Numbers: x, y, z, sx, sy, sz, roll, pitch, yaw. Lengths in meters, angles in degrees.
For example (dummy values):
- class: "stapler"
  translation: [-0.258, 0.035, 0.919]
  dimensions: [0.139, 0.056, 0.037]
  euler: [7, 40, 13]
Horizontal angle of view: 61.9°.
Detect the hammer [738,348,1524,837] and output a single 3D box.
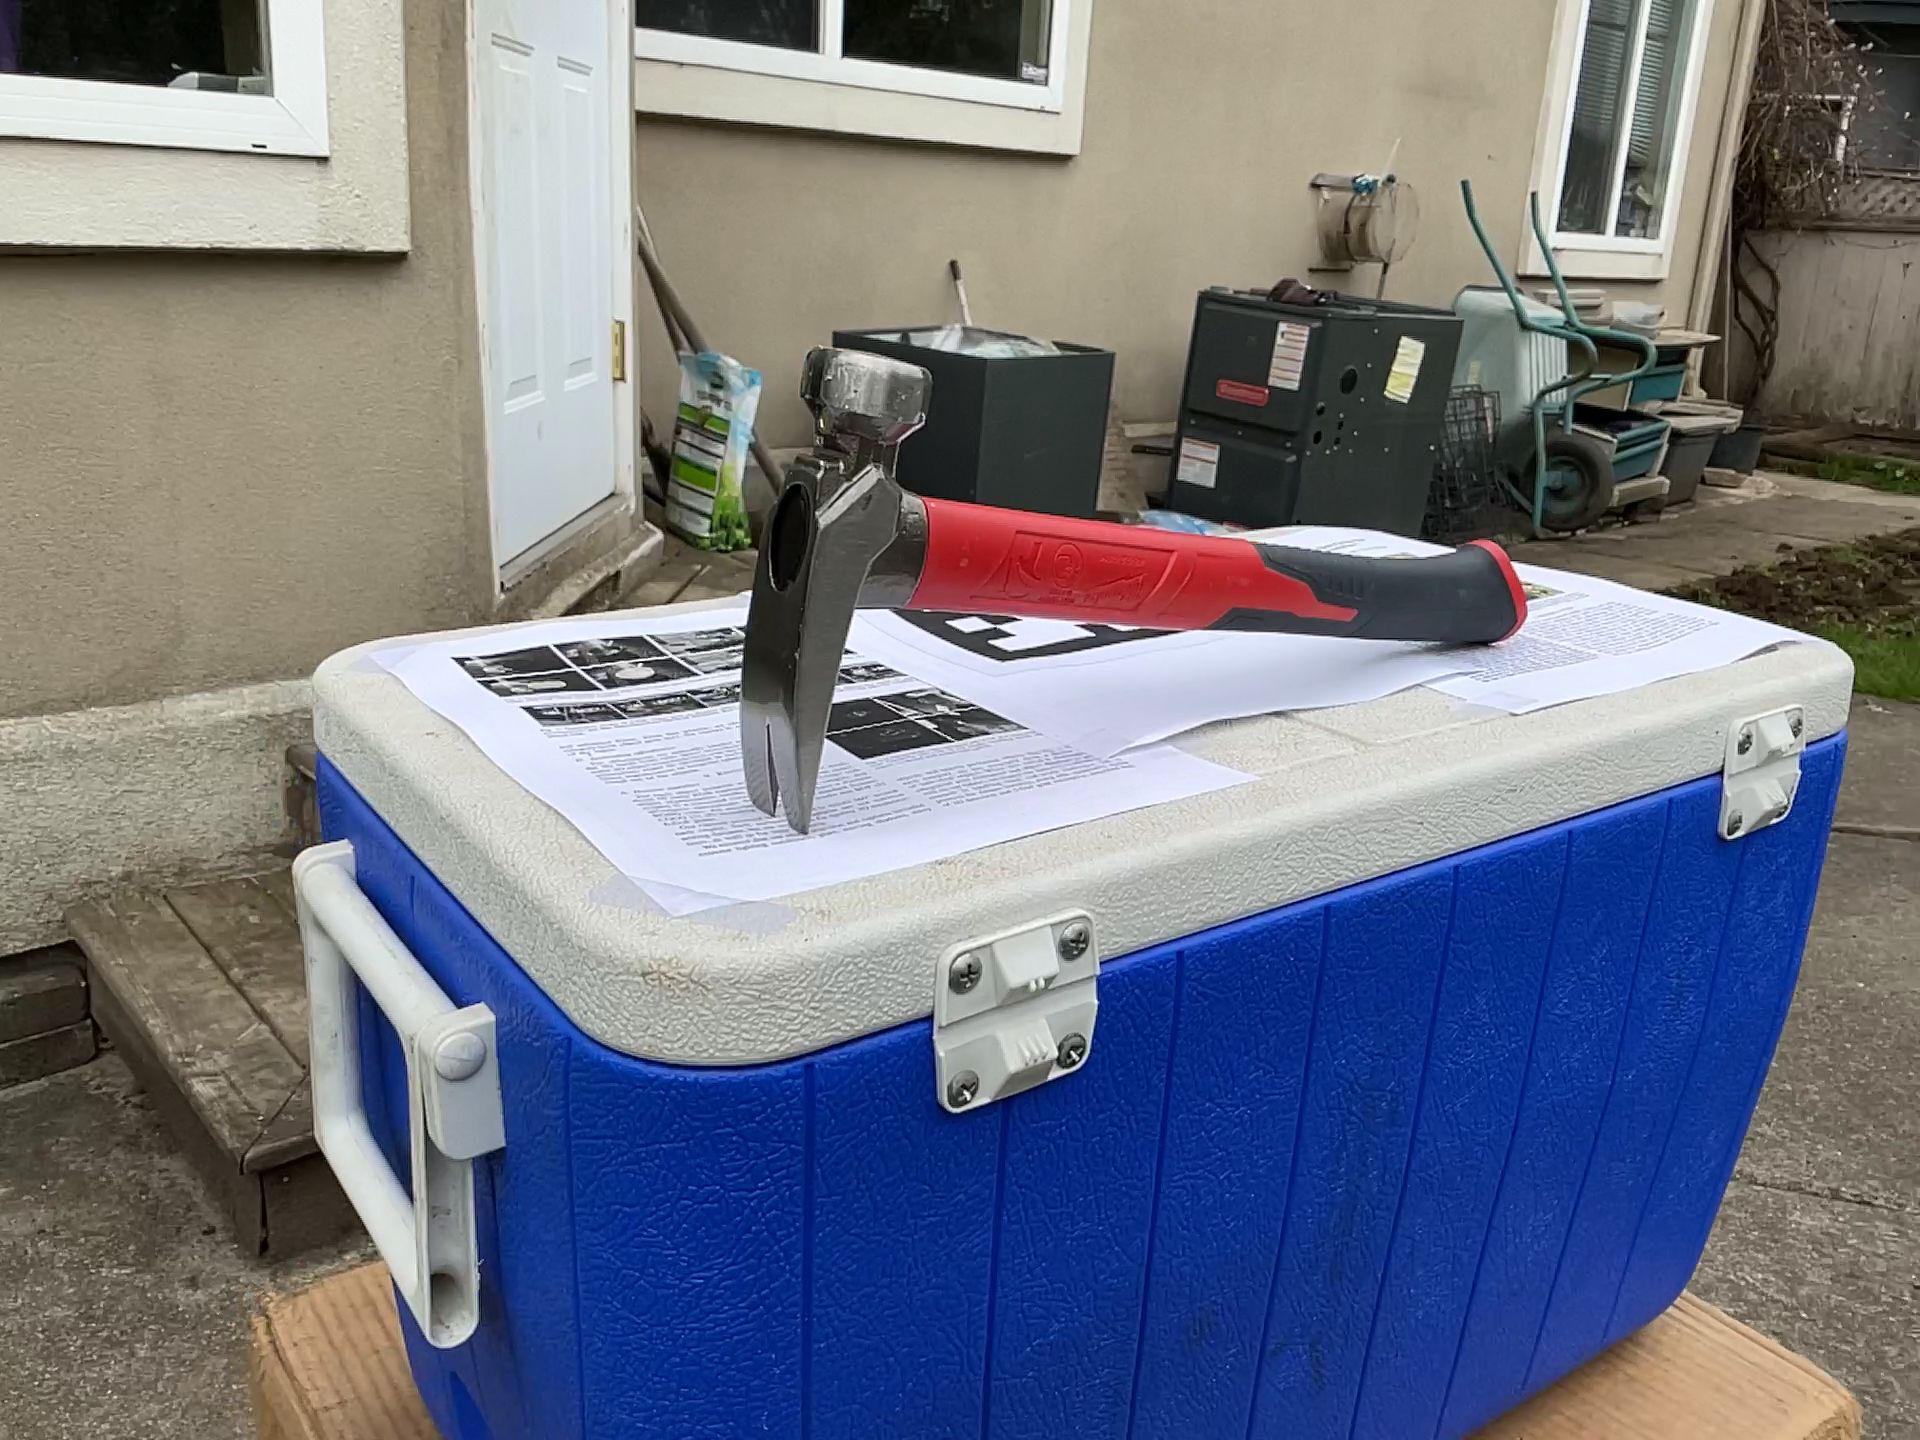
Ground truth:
- class: "hammer"
  translation: [0.090, -0.035, 0.593]
  dimensions: [0.386, 0.143, 0.038]
  euler: [1, 16, -42]
